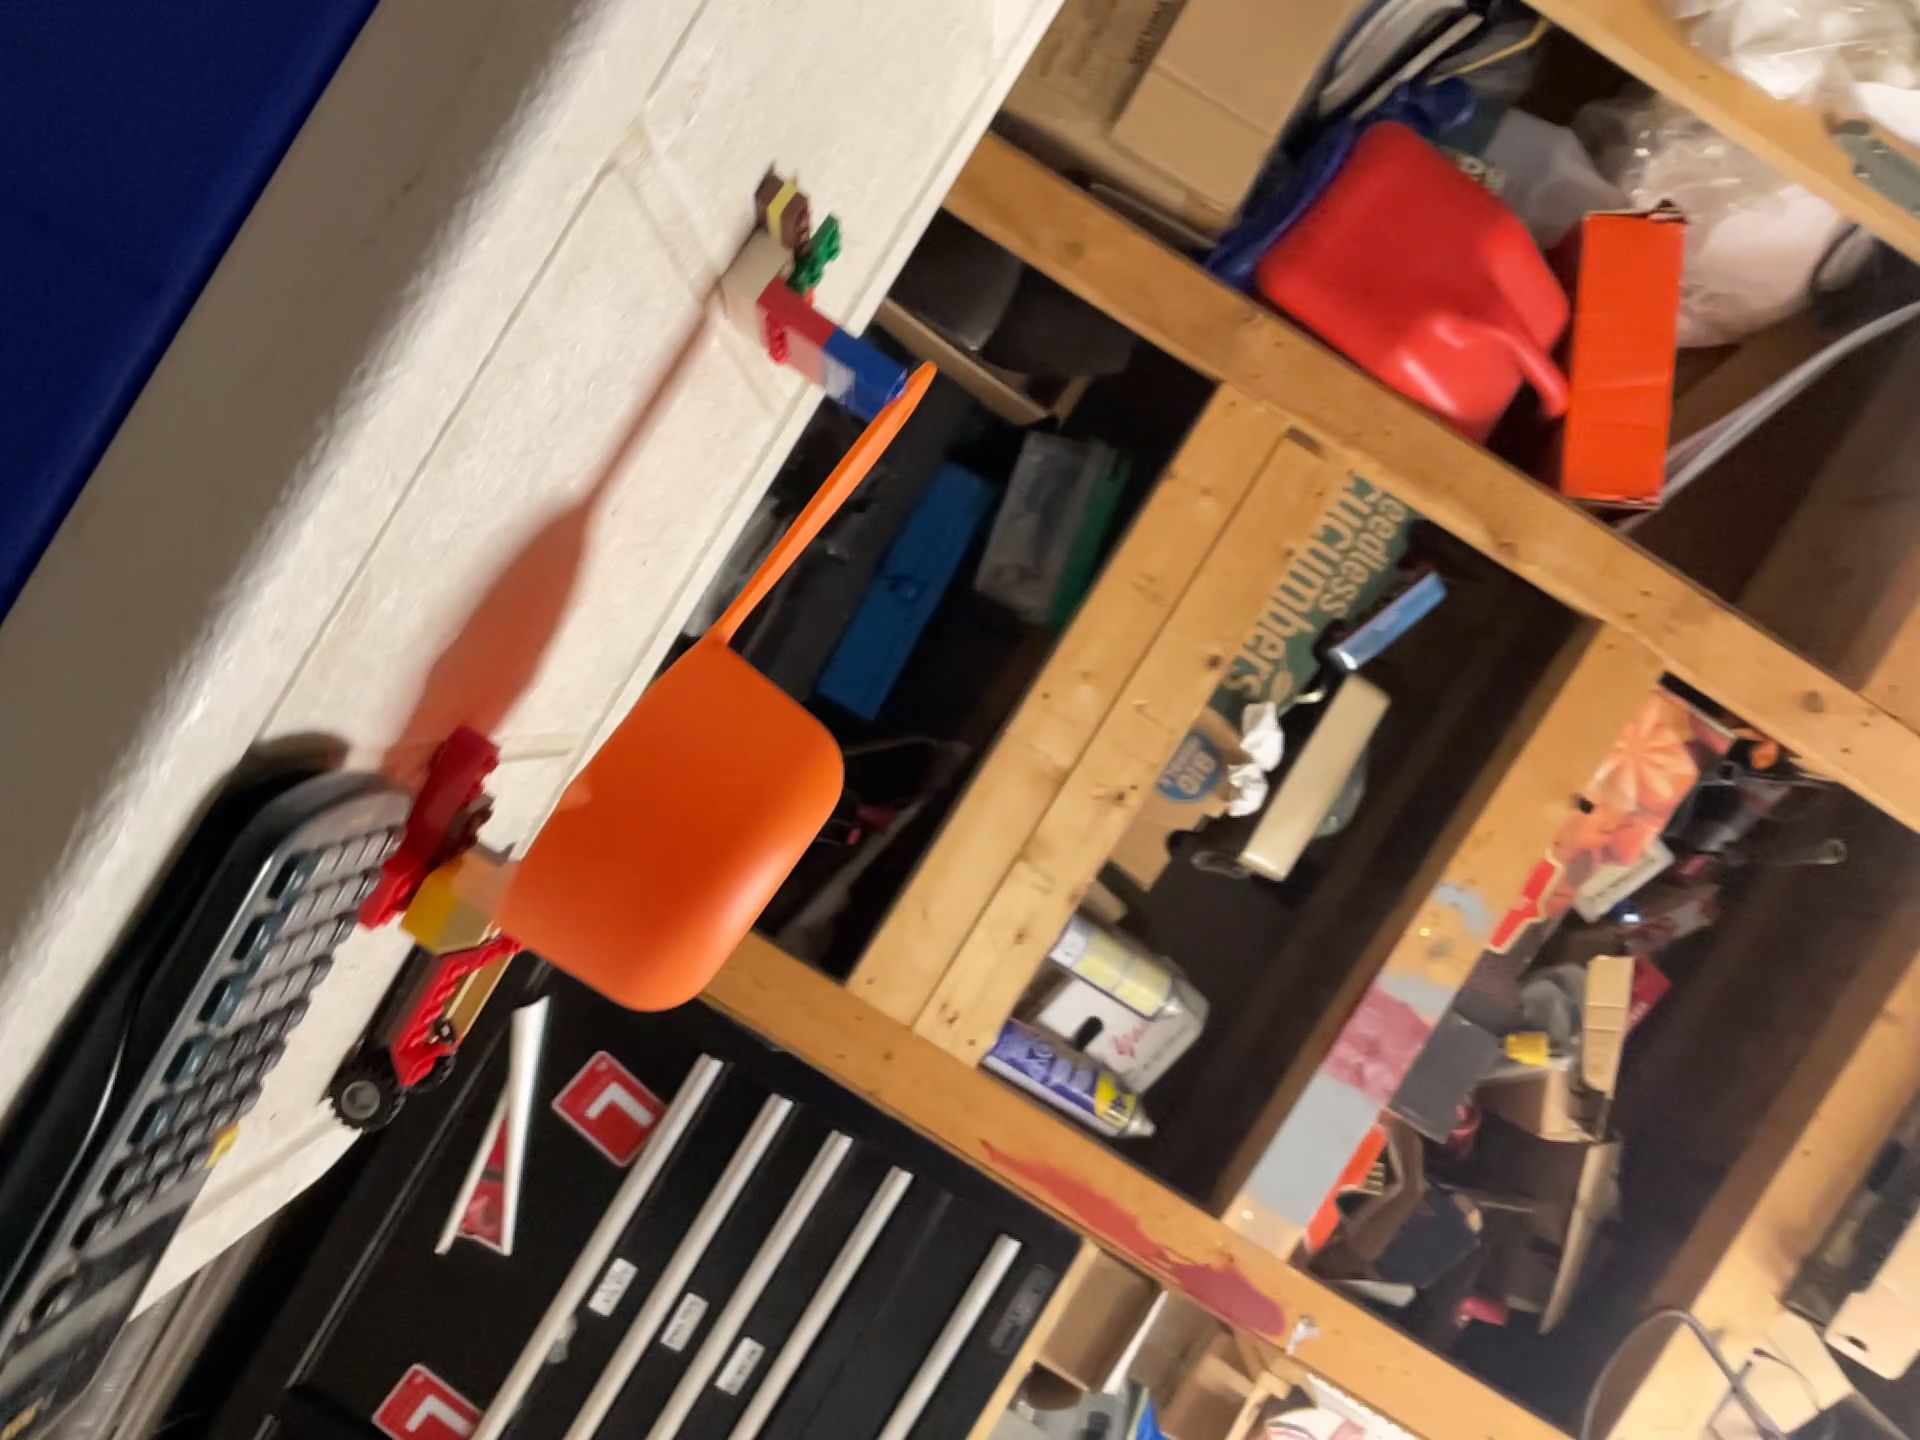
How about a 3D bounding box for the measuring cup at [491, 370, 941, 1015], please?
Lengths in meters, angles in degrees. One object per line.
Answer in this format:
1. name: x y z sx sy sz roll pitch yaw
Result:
1. measuring cup: -0.042 -0.004 0.394 0.173 0.052 0.095 -52 -179 -2
